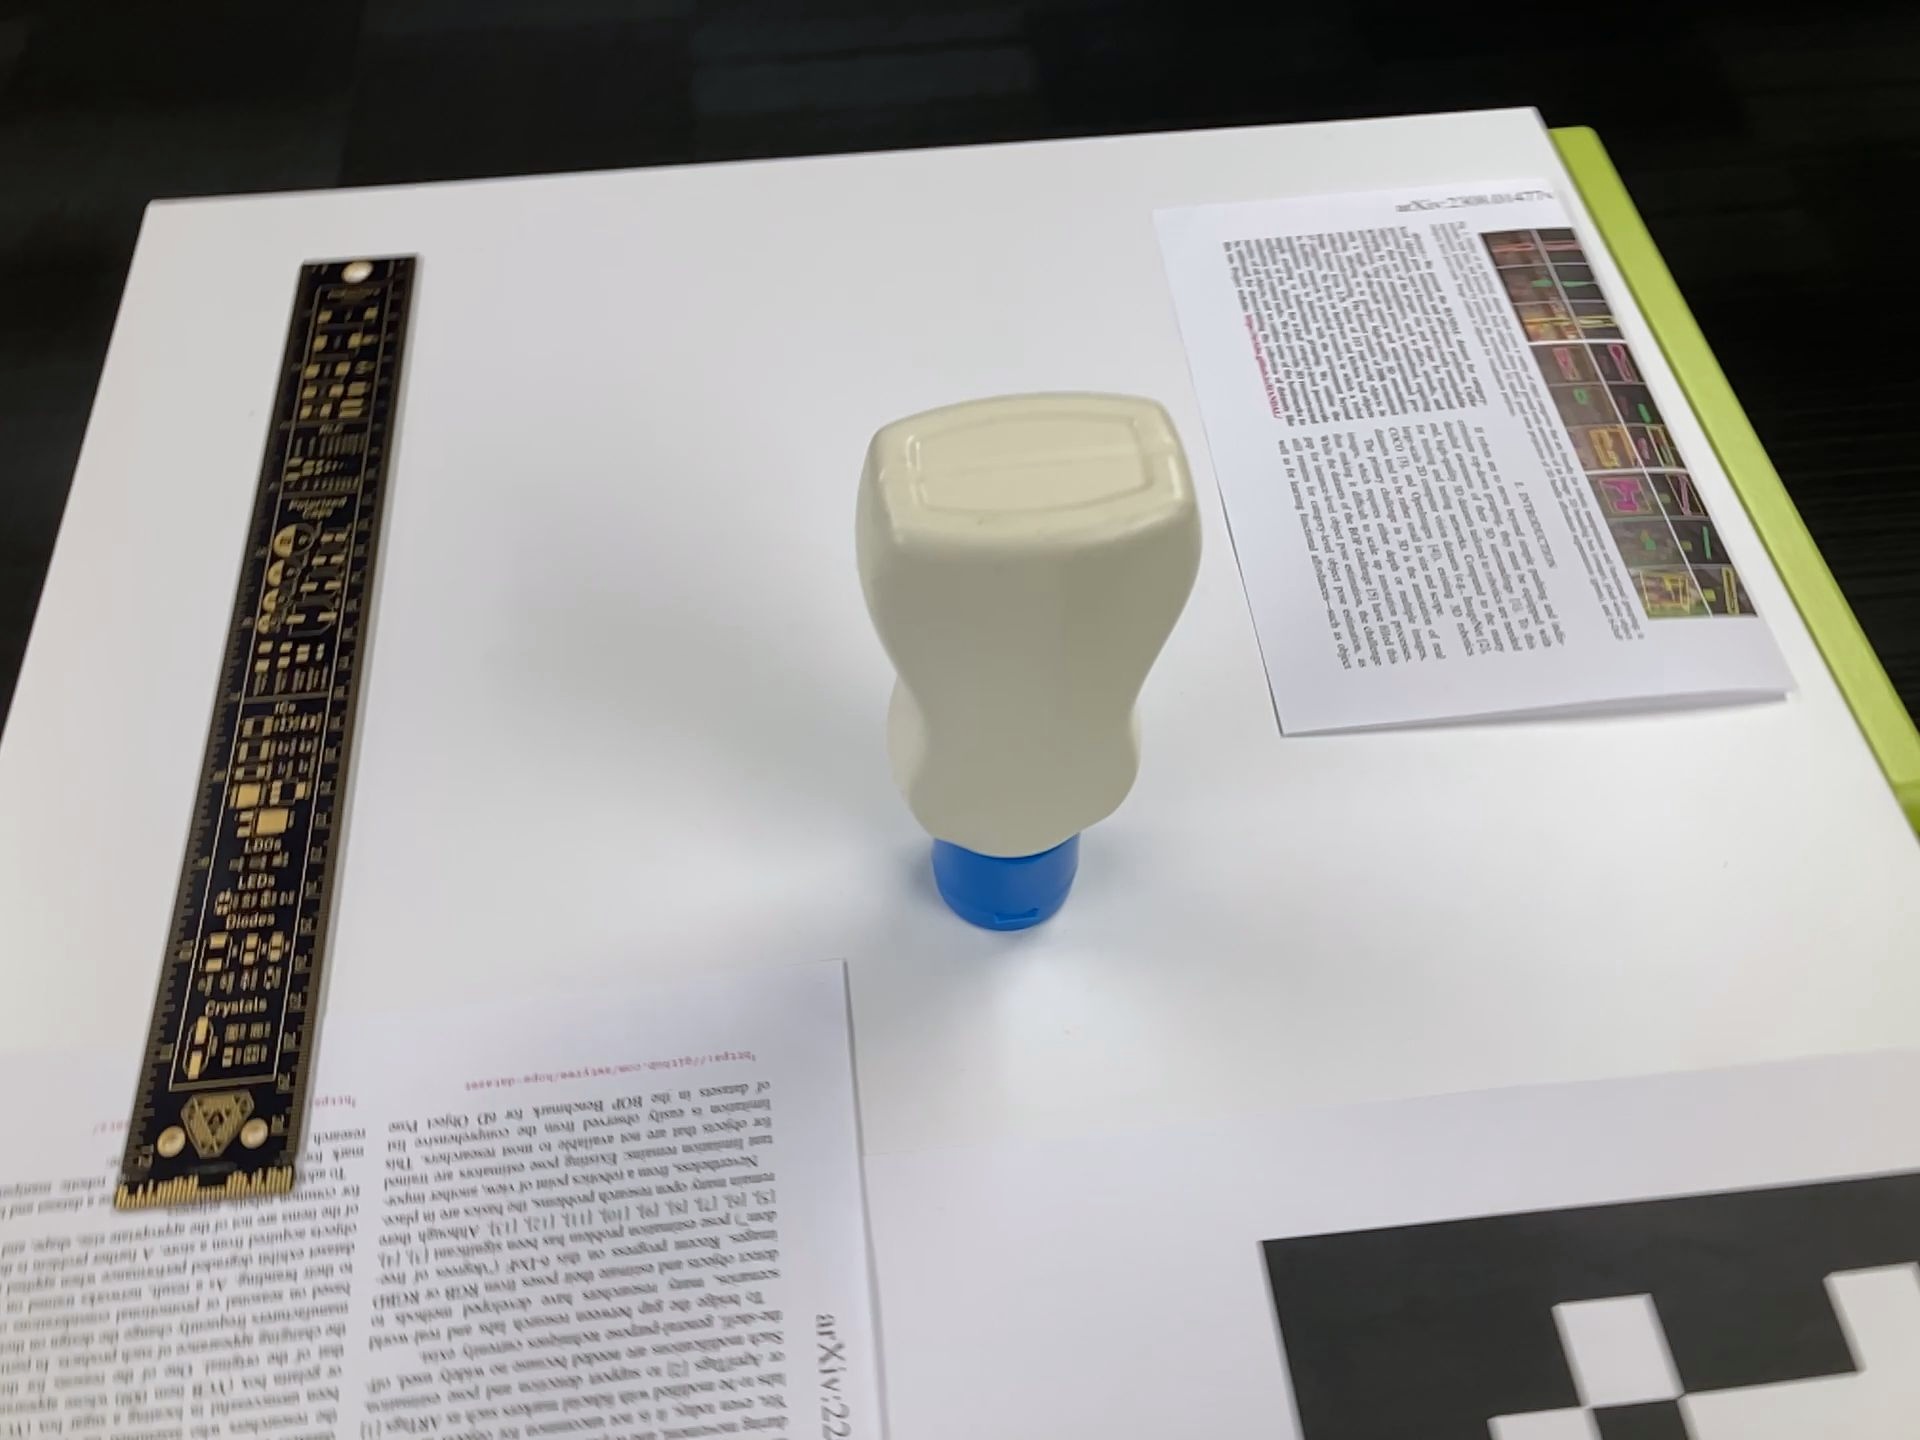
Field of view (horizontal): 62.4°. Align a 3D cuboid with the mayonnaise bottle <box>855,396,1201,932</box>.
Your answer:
[{"bbox_3d":[0.012,-0.004,0.344,0.065,0.148,0.041,-6,56,-5],"label":"mayonnaise bottle"}]
